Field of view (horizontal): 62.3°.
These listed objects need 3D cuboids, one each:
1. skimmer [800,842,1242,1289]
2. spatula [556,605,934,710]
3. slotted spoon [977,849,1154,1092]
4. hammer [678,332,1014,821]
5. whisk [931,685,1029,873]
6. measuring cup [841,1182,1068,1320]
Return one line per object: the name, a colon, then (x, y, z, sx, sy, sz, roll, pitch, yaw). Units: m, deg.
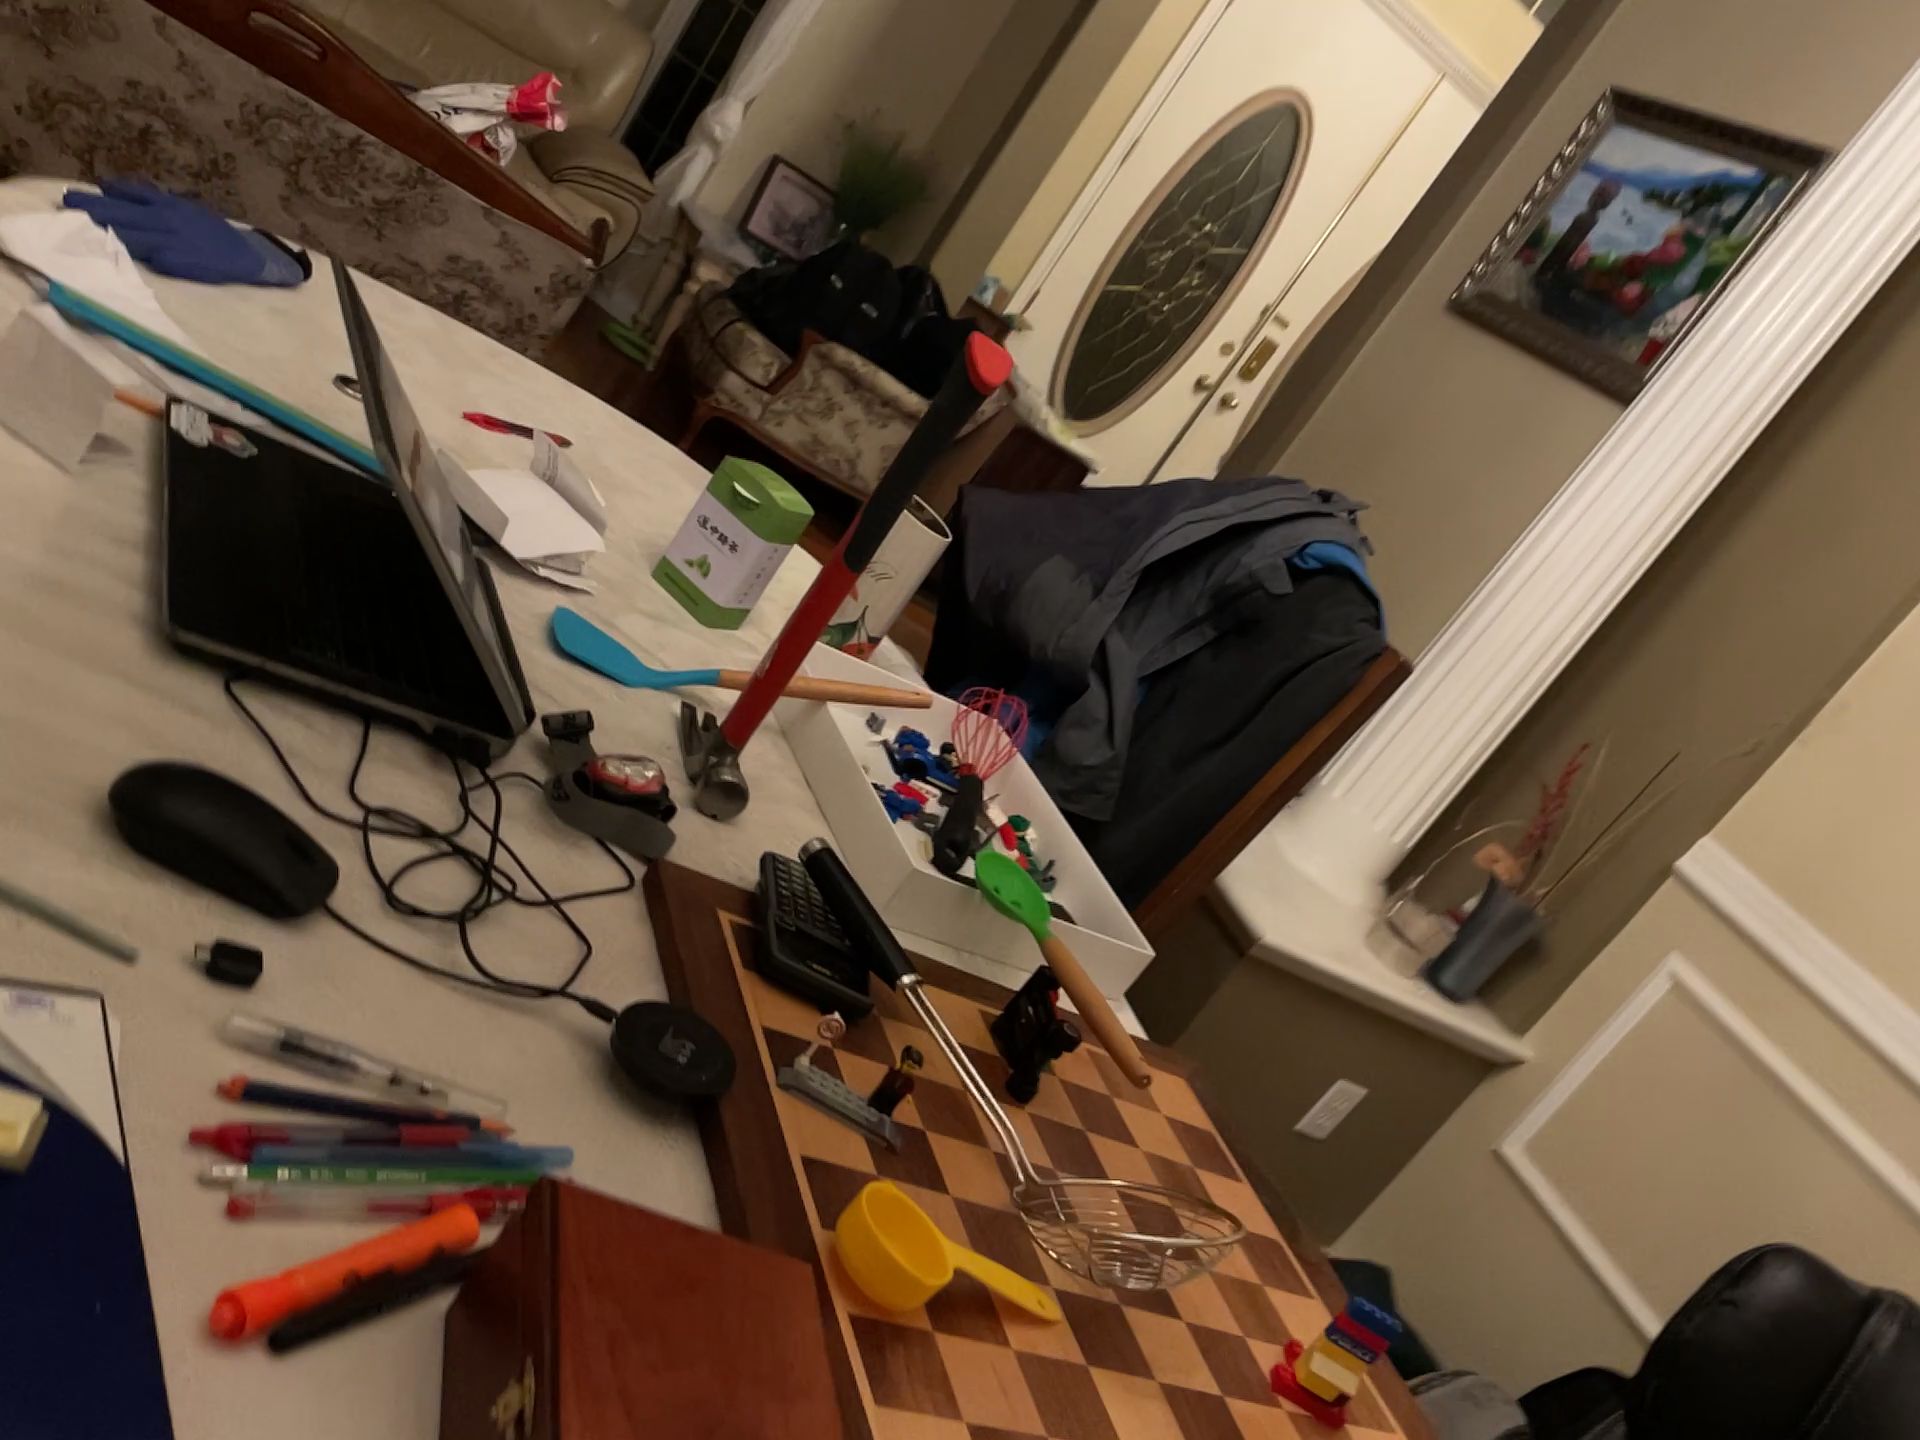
skimmer: (0.019, 0.187, 0.950, 0.127, 0.090, 0.364, 10, 34, -52)
spatula: (-0.170, -0.040, 1.294, 0.317, 0.044, 0.082, 6, 25, -19)
slotted spoon: (0.068, 0.163, 1.067, 0.070, 0.031, 0.314, 31, 8, -22)
hammer: (-0.089, -0.112, 1.145, 0.038, 0.386, 0.143, 26, 19, -29)
whisk: (0.013, 0.050, 1.429, 0.073, 0.073, 0.296, 18, 31, 2)
measuring cup: (-0.001, 0.281, 0.799, 0.156, 0.029, 0.062, 40, 8, -35)
